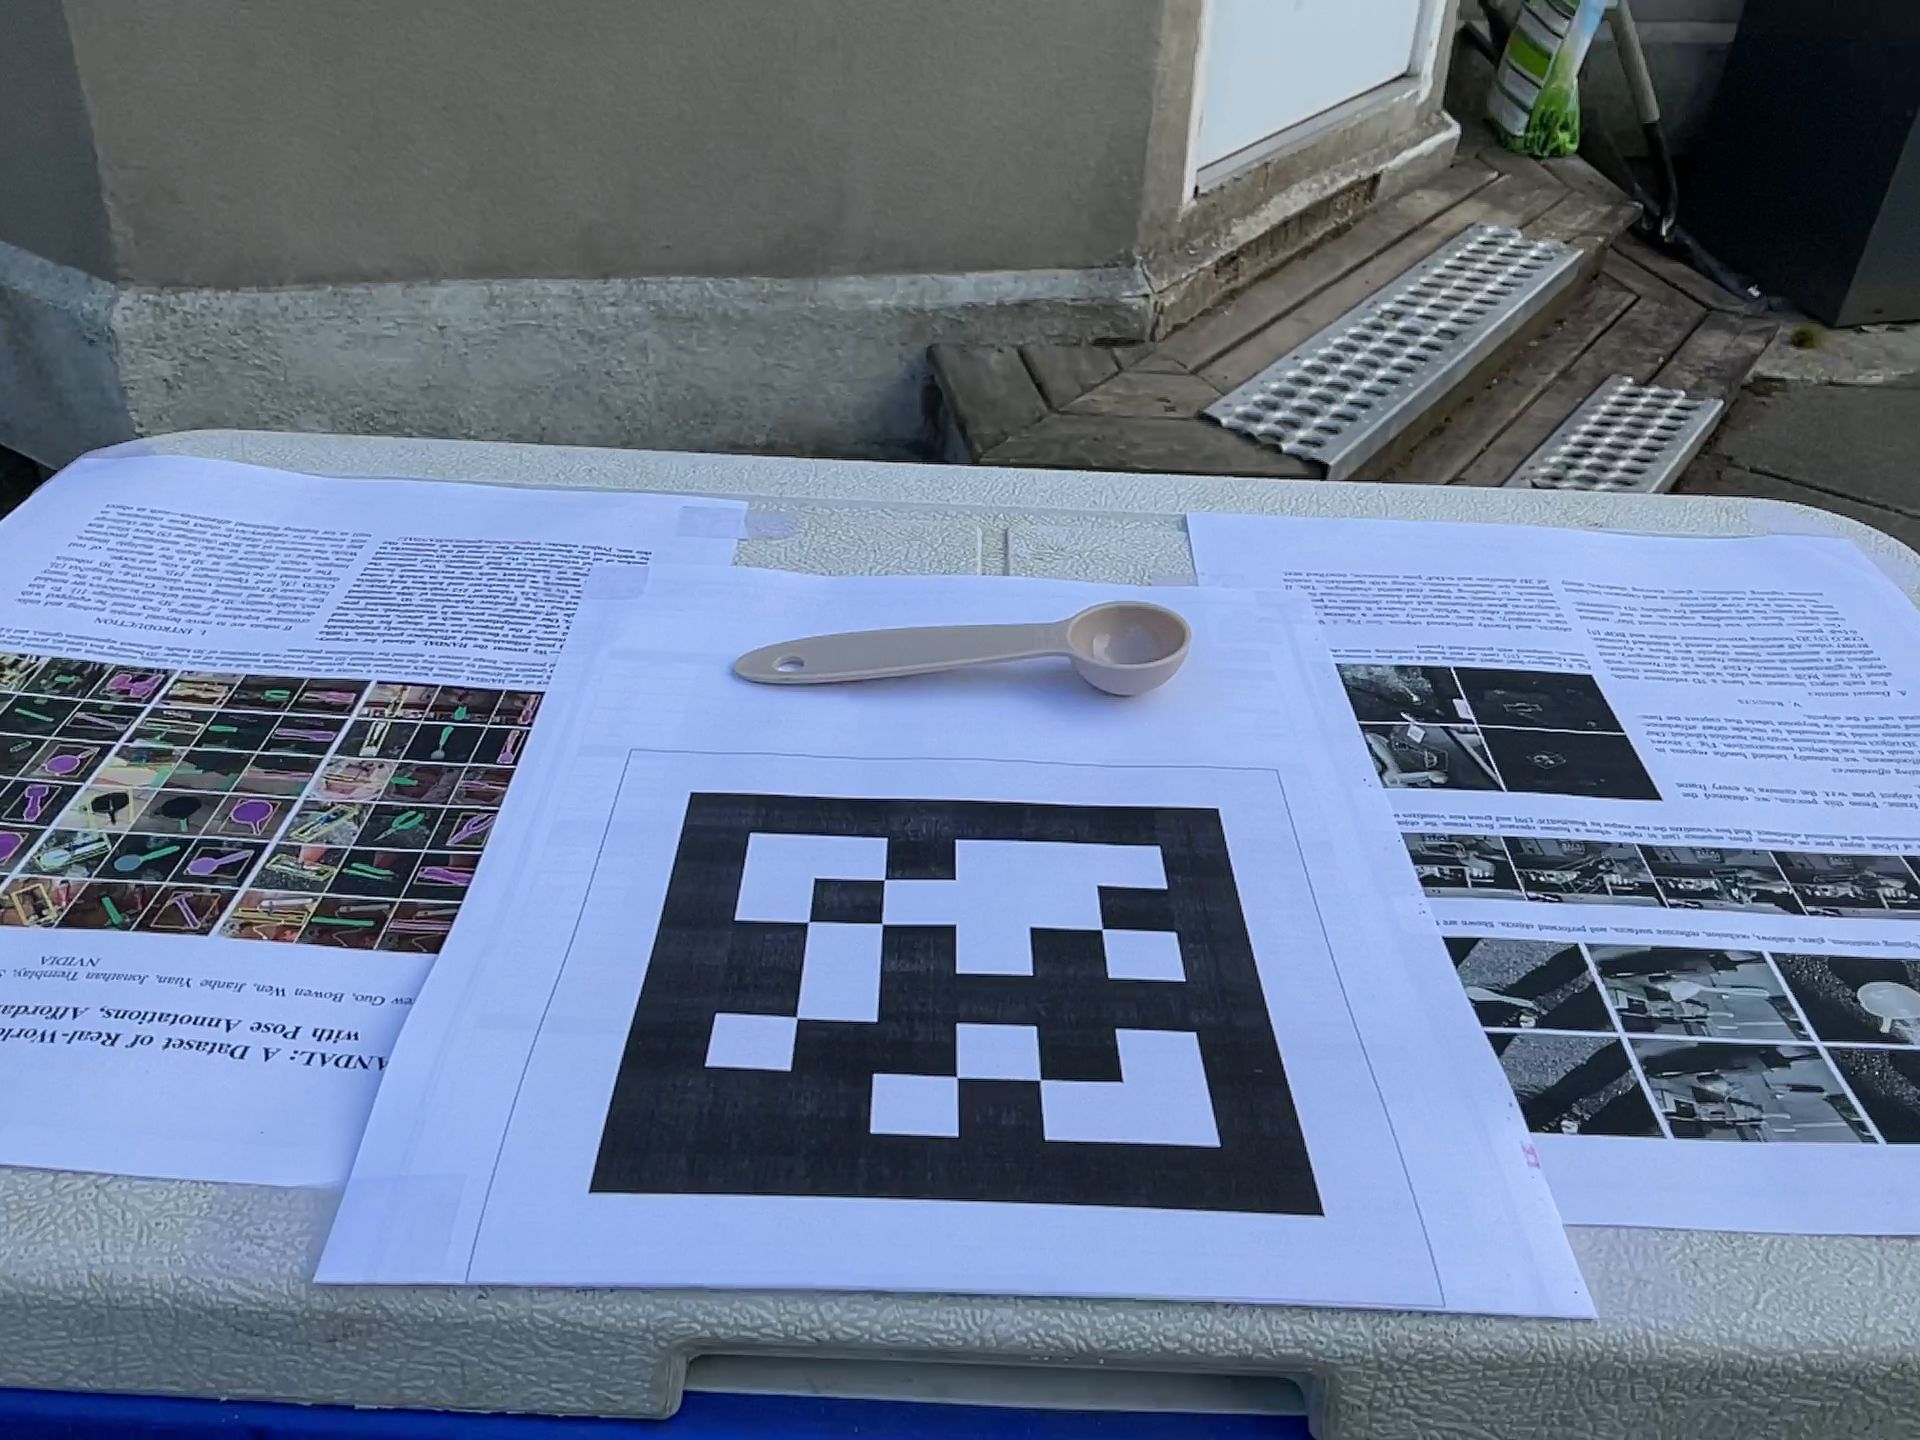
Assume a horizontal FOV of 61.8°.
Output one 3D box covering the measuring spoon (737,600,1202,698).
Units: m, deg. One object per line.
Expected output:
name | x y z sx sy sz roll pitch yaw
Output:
measuring spoon | 0.002 -0.014 0.430 0.124 0.018 0.034 -4 35 3
